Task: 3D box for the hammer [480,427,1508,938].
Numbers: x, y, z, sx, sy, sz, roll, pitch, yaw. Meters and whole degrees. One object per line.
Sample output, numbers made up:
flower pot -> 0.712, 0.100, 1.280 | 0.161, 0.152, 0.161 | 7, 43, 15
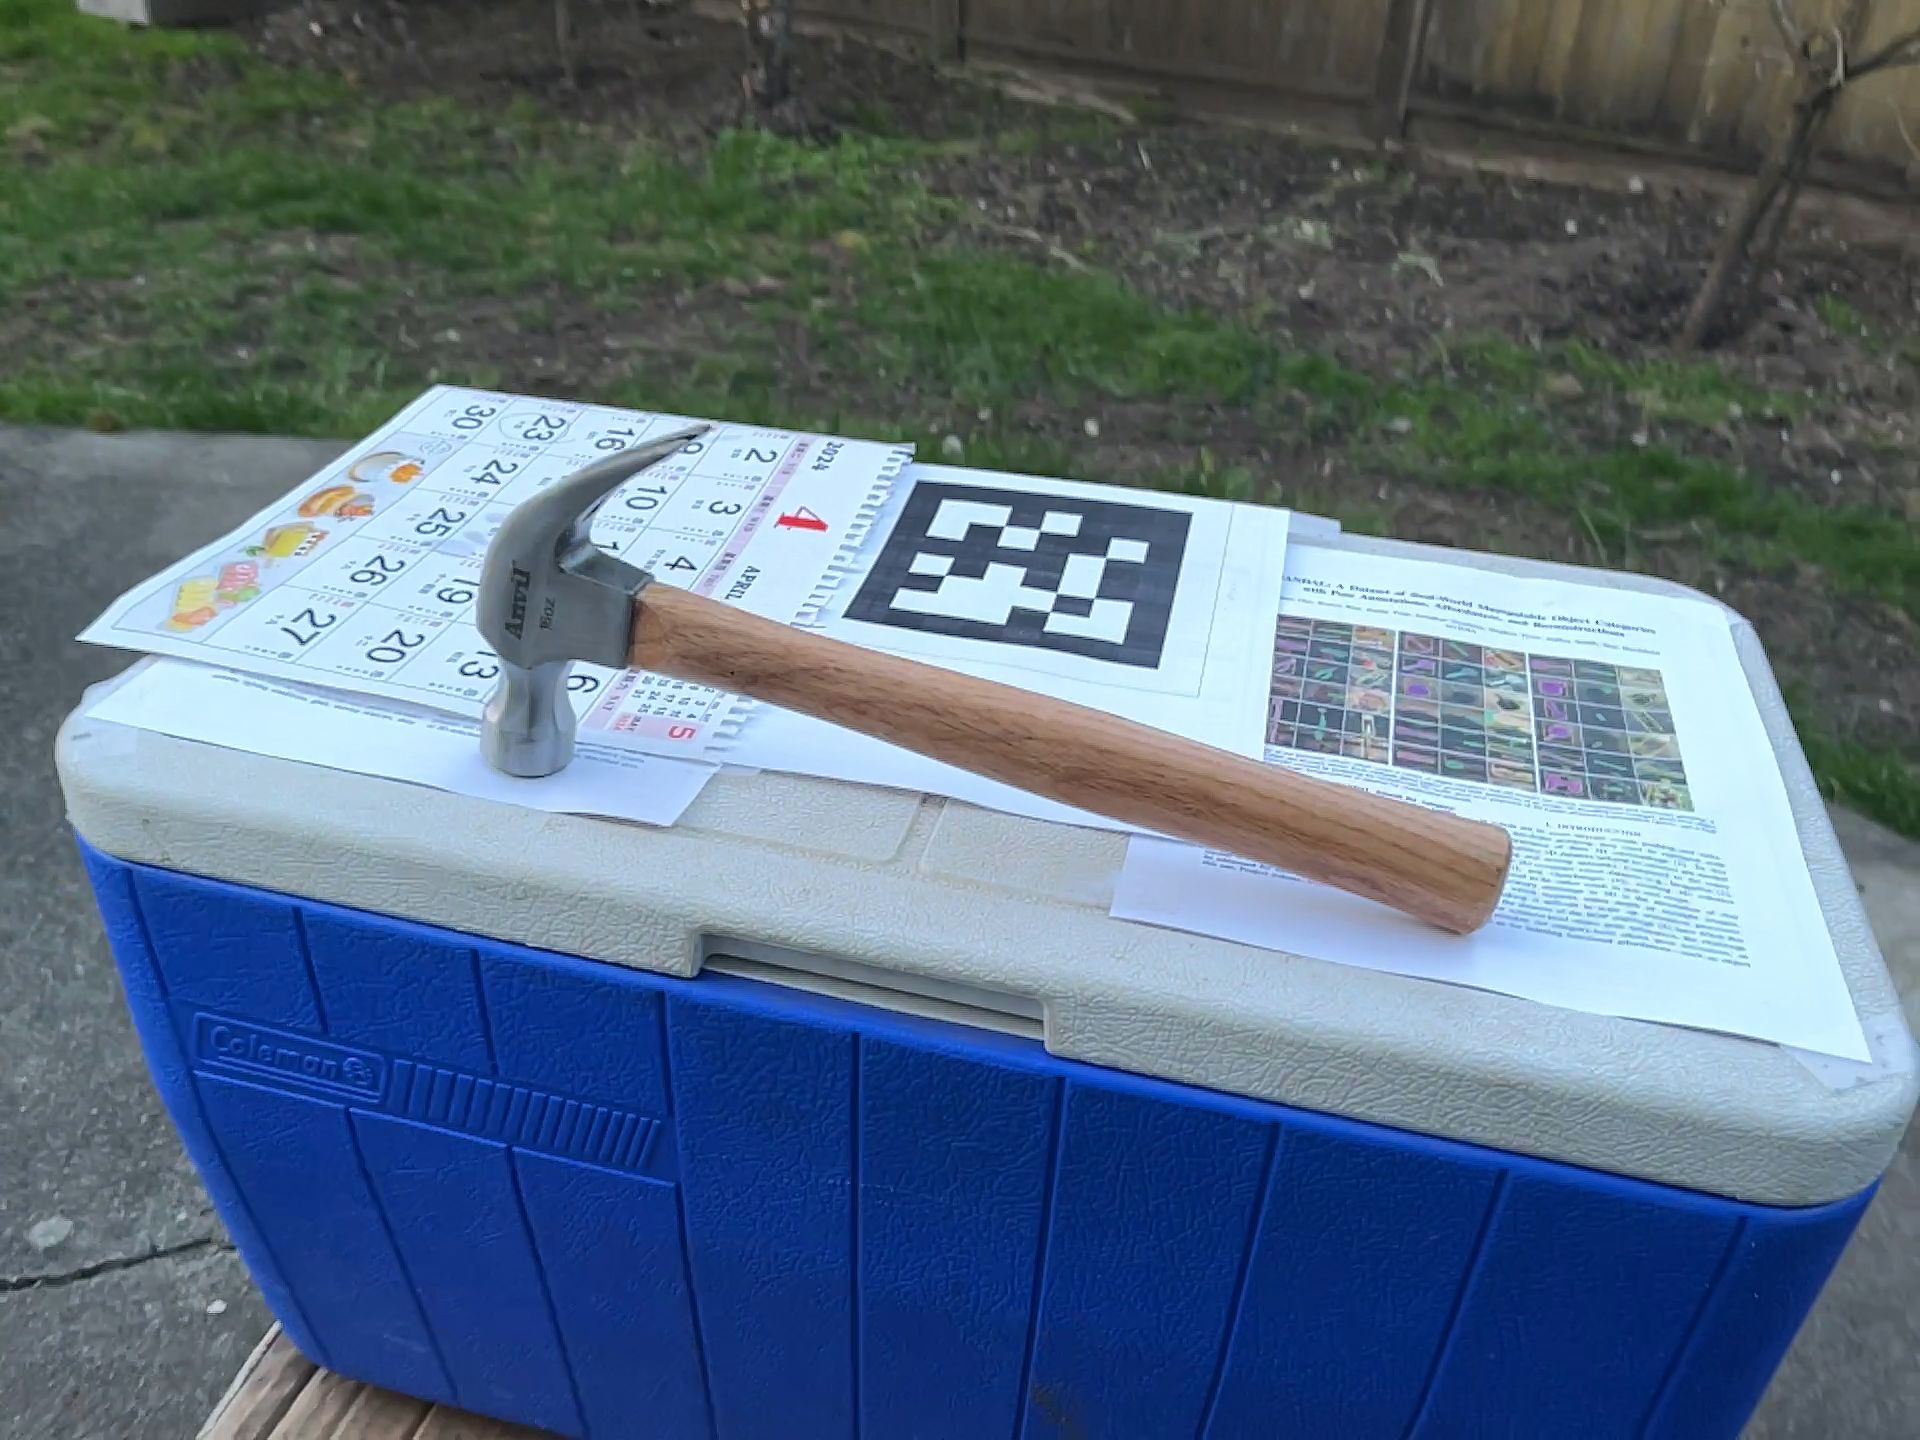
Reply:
hammer -> 0.006, 0.000, 0.488 | 0.331, 0.130, 0.031 | 17, 29, 5
